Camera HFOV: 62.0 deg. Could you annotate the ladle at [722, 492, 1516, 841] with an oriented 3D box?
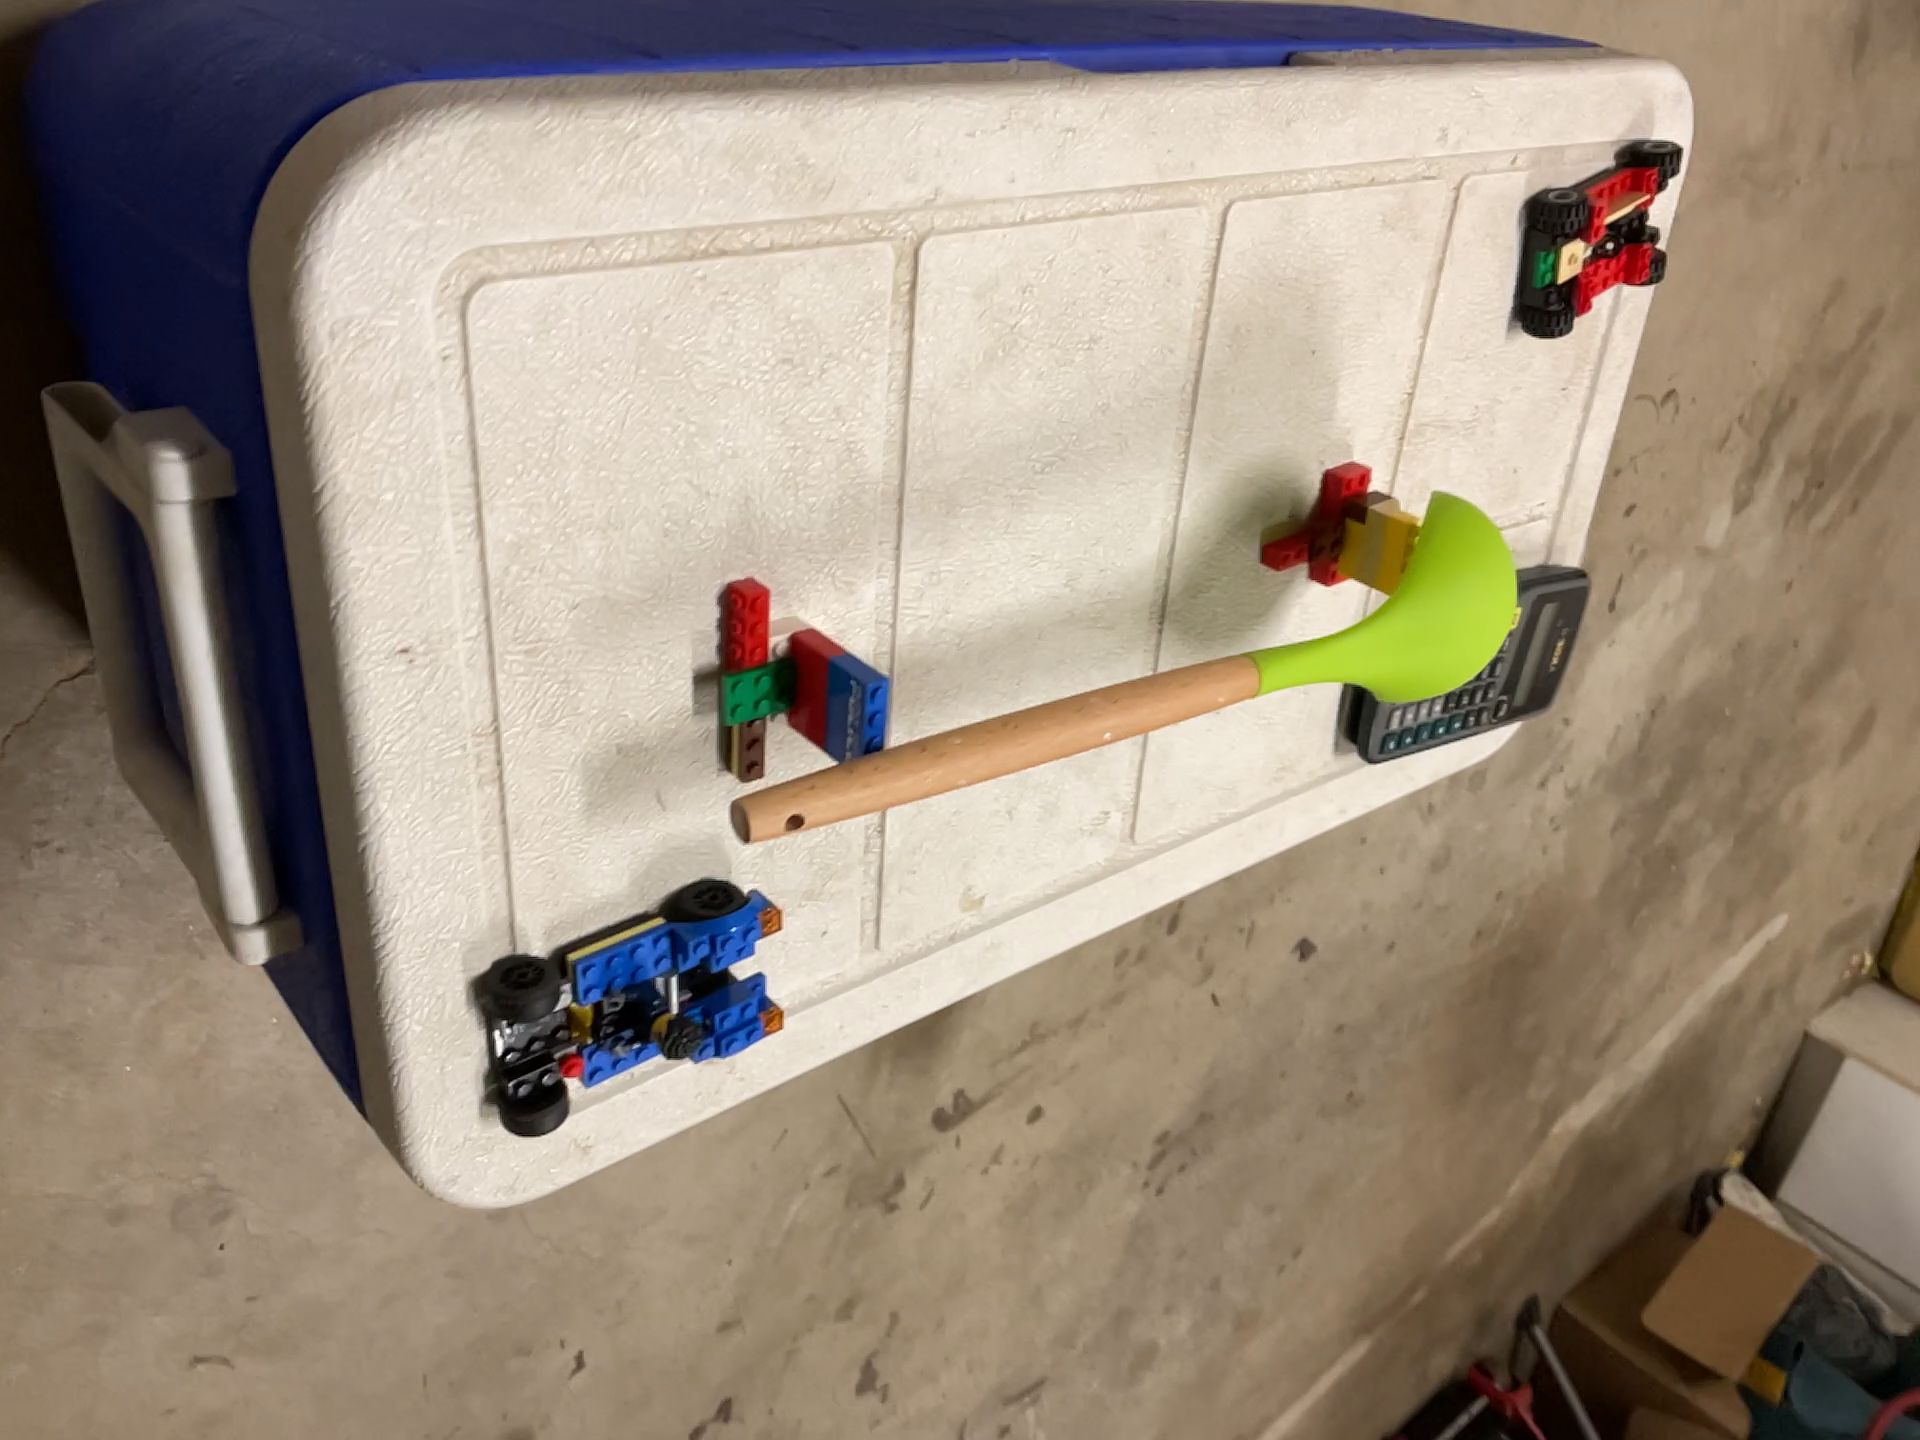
[{"bbox_3d":[0.065,-0.015,0.520,0.320,0.062,0.078,-15,130,-30],"label":"ladle"}]
